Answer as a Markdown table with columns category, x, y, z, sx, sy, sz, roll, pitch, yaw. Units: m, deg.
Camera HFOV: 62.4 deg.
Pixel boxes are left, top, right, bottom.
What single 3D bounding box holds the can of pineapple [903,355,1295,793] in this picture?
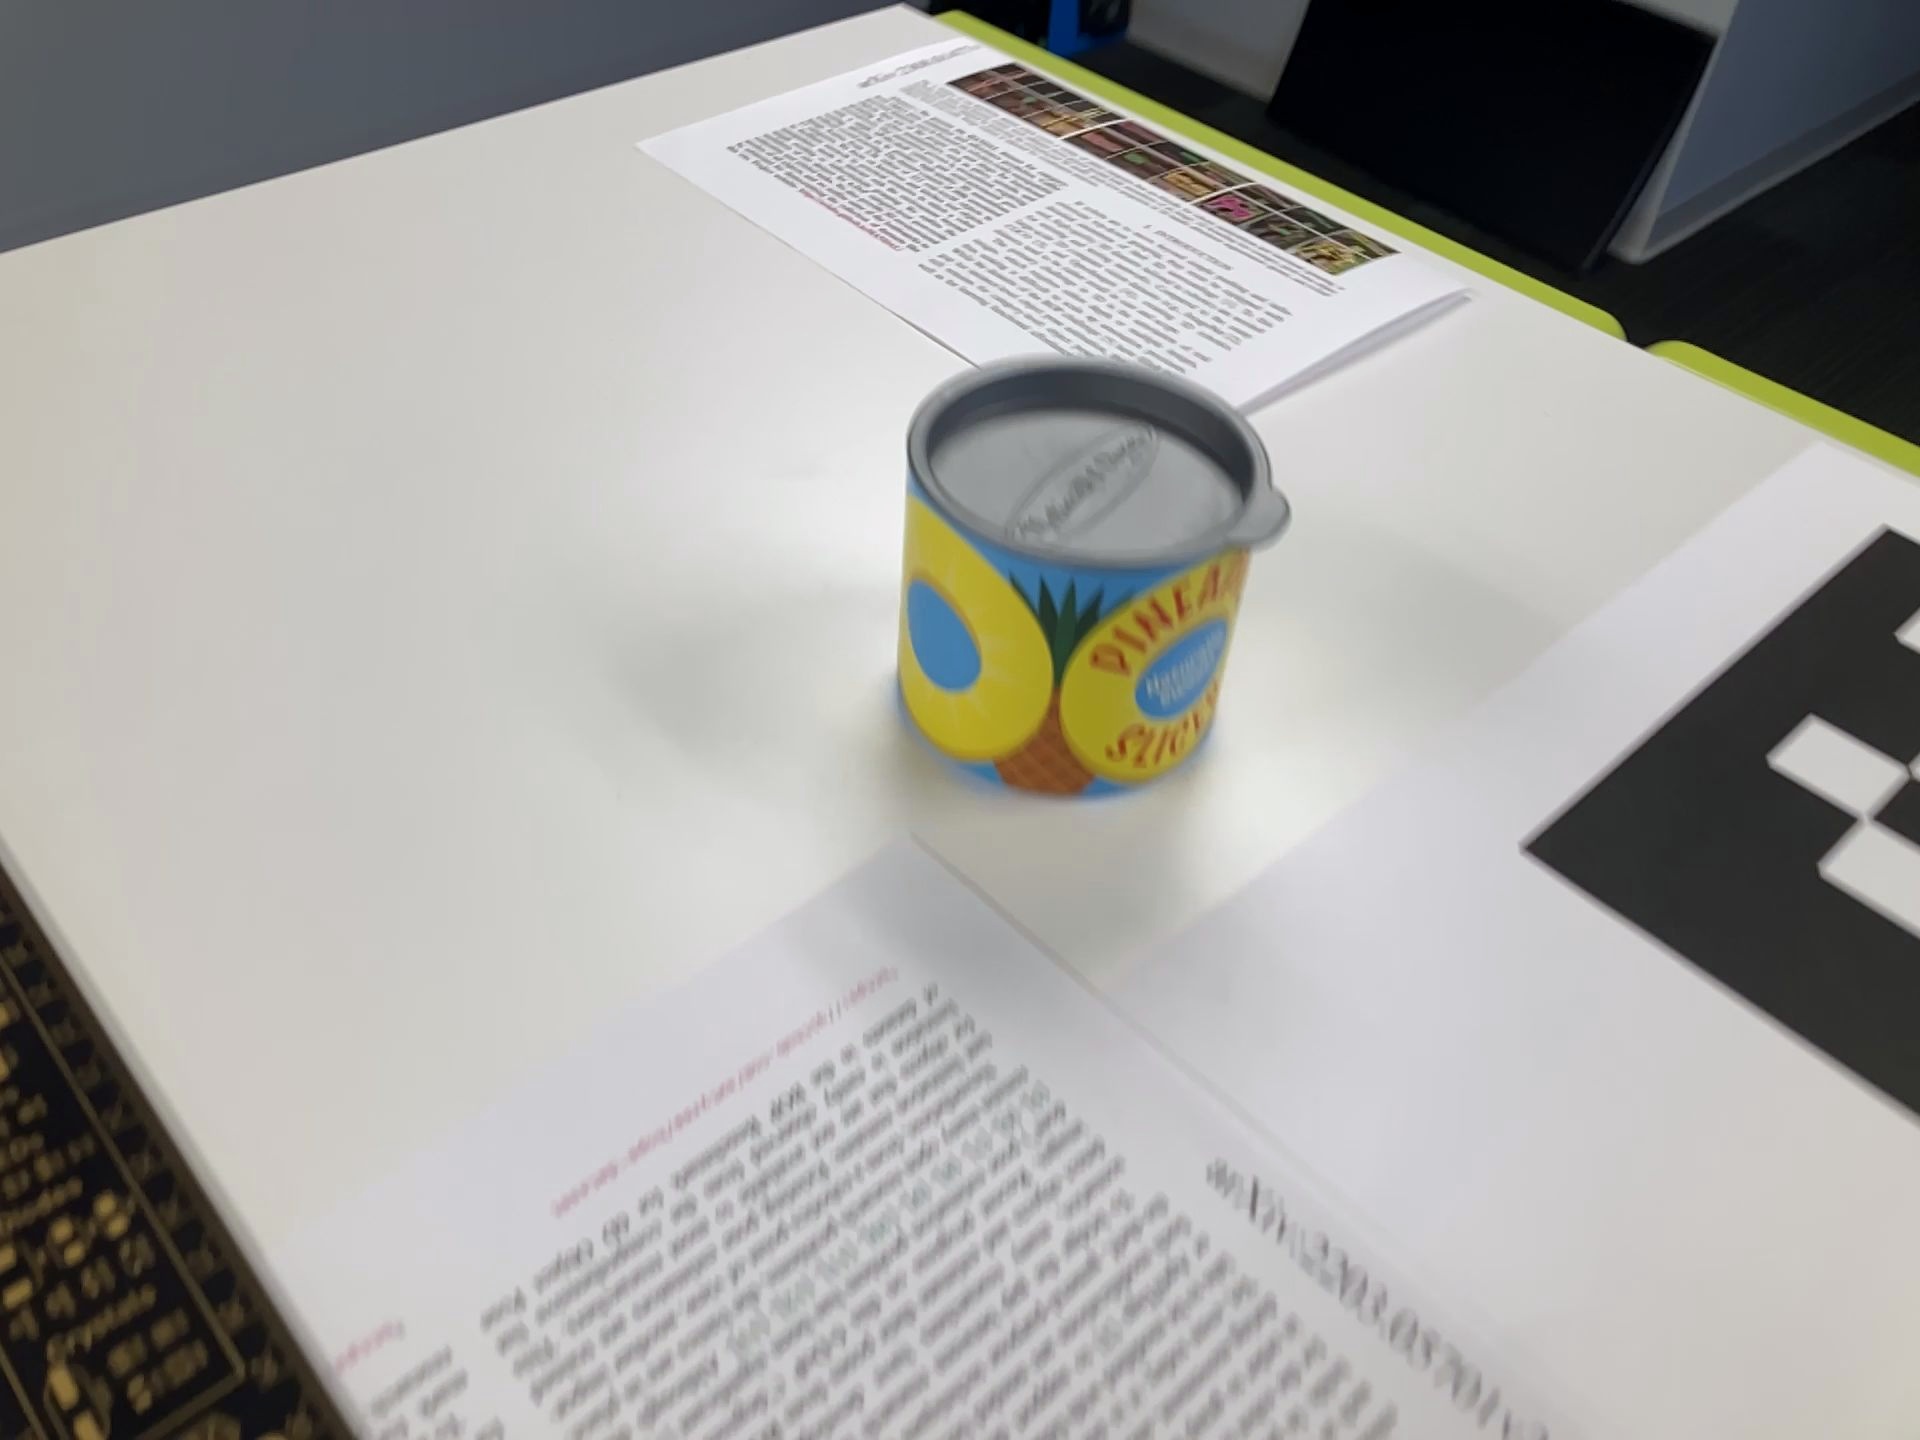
| category | x | y | z | sx | sy | sz | roll | pitch | yaw |
| --- | --- | --- | --- | --- | --- | --- | --- | --- | --- |
| can of pineapple | 0.024 | -0.028 | 0.306 | 0.071 | 0.058 | 0.071 | 2 | 44 | -2 |
